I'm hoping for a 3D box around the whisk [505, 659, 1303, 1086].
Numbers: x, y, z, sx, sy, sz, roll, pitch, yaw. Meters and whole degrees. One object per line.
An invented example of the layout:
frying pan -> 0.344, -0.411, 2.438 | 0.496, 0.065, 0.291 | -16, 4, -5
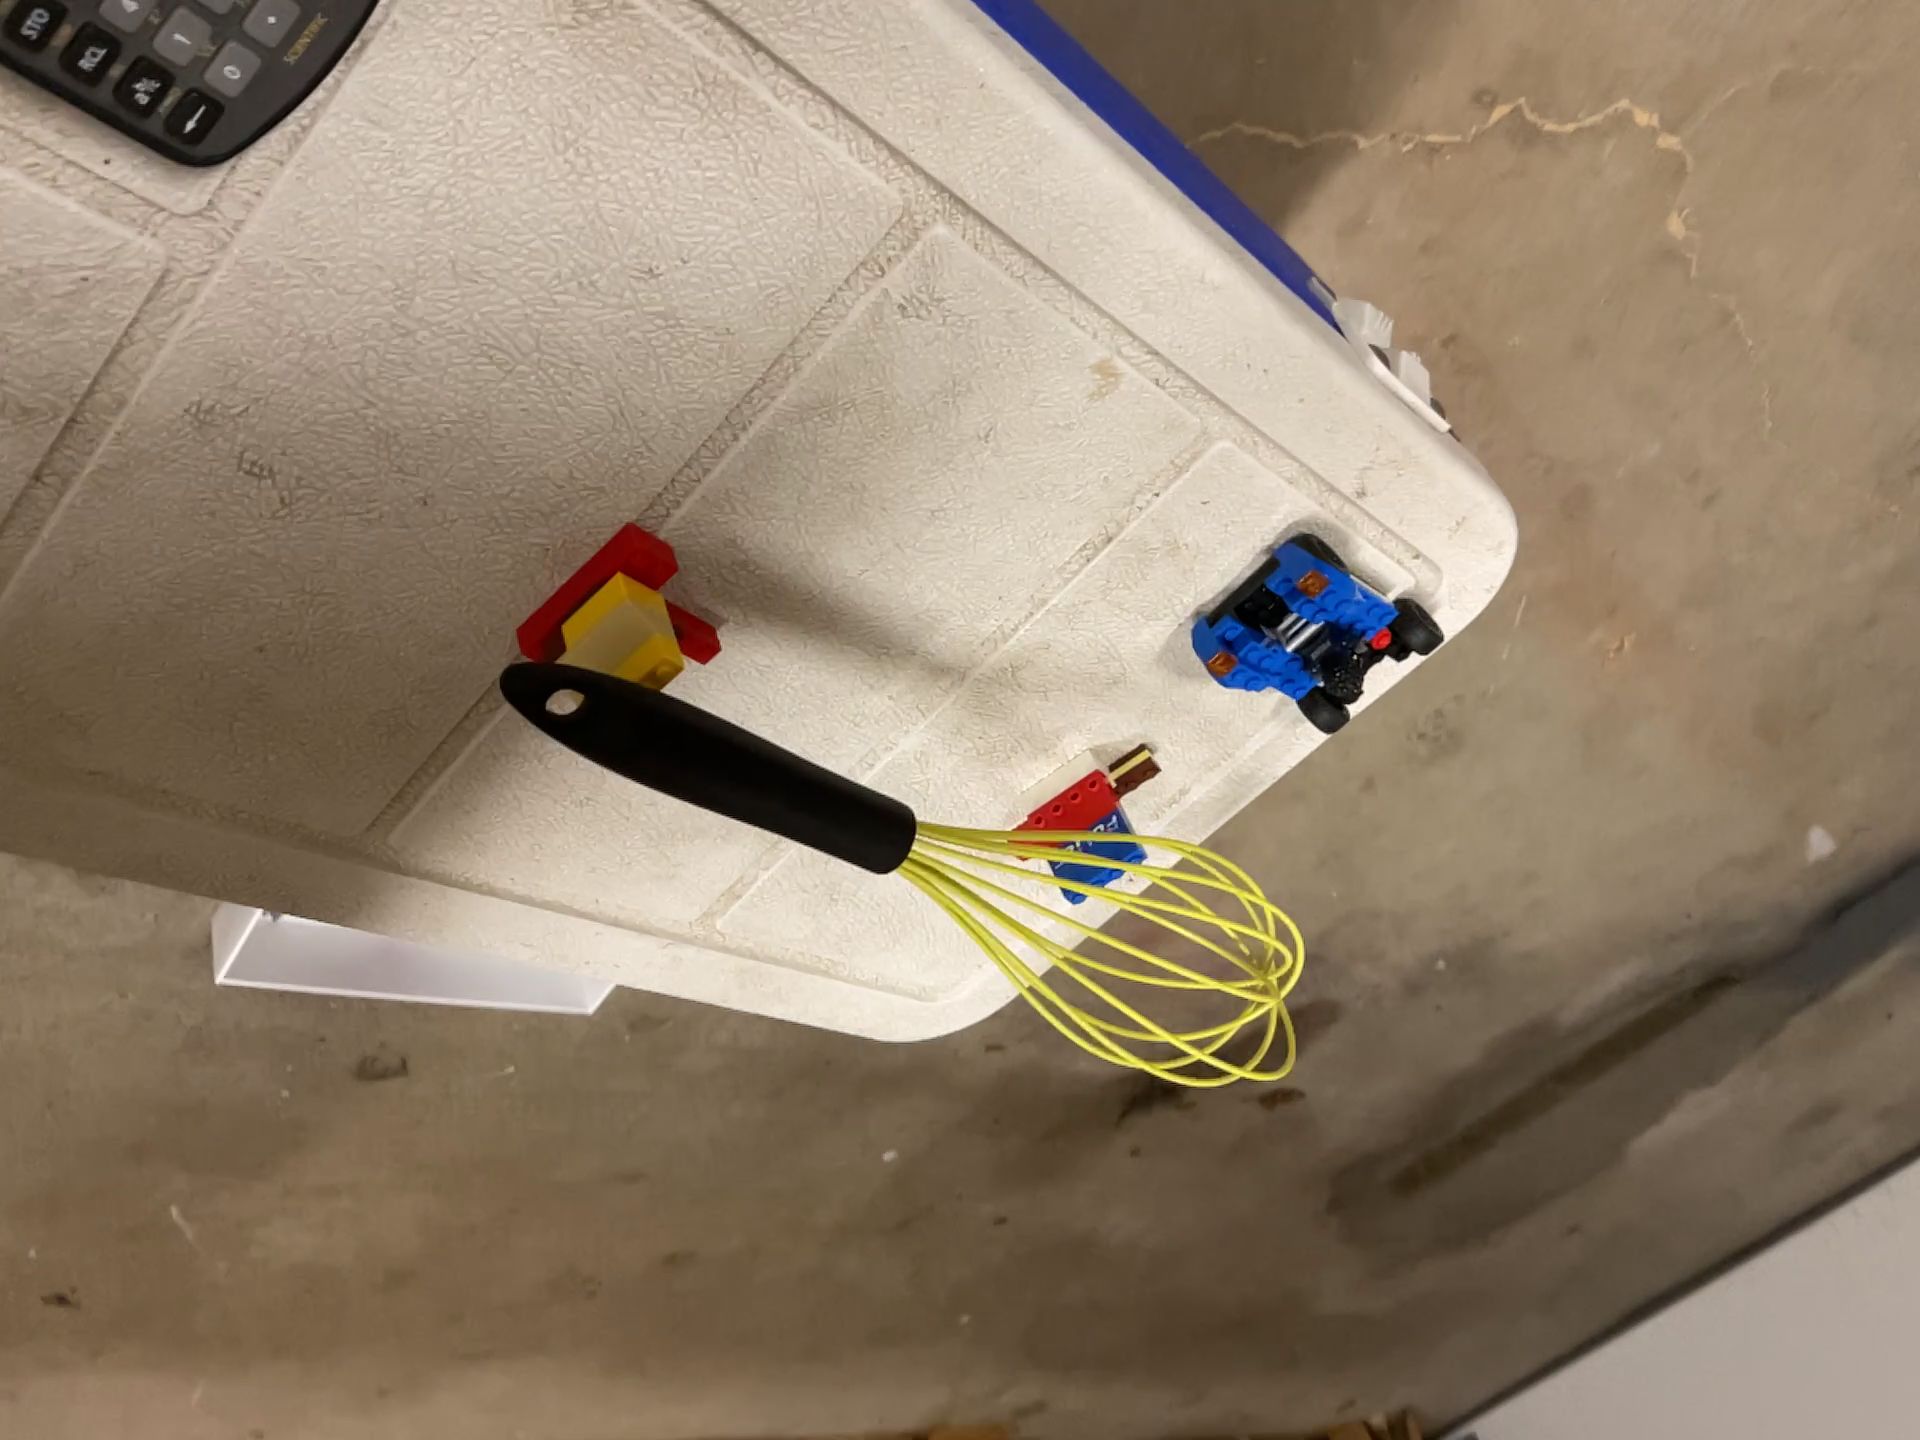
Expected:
whisk -> 0.001, 0.045, 0.485 | 0.311, 0.067, 0.080 | 27, 74, -35
